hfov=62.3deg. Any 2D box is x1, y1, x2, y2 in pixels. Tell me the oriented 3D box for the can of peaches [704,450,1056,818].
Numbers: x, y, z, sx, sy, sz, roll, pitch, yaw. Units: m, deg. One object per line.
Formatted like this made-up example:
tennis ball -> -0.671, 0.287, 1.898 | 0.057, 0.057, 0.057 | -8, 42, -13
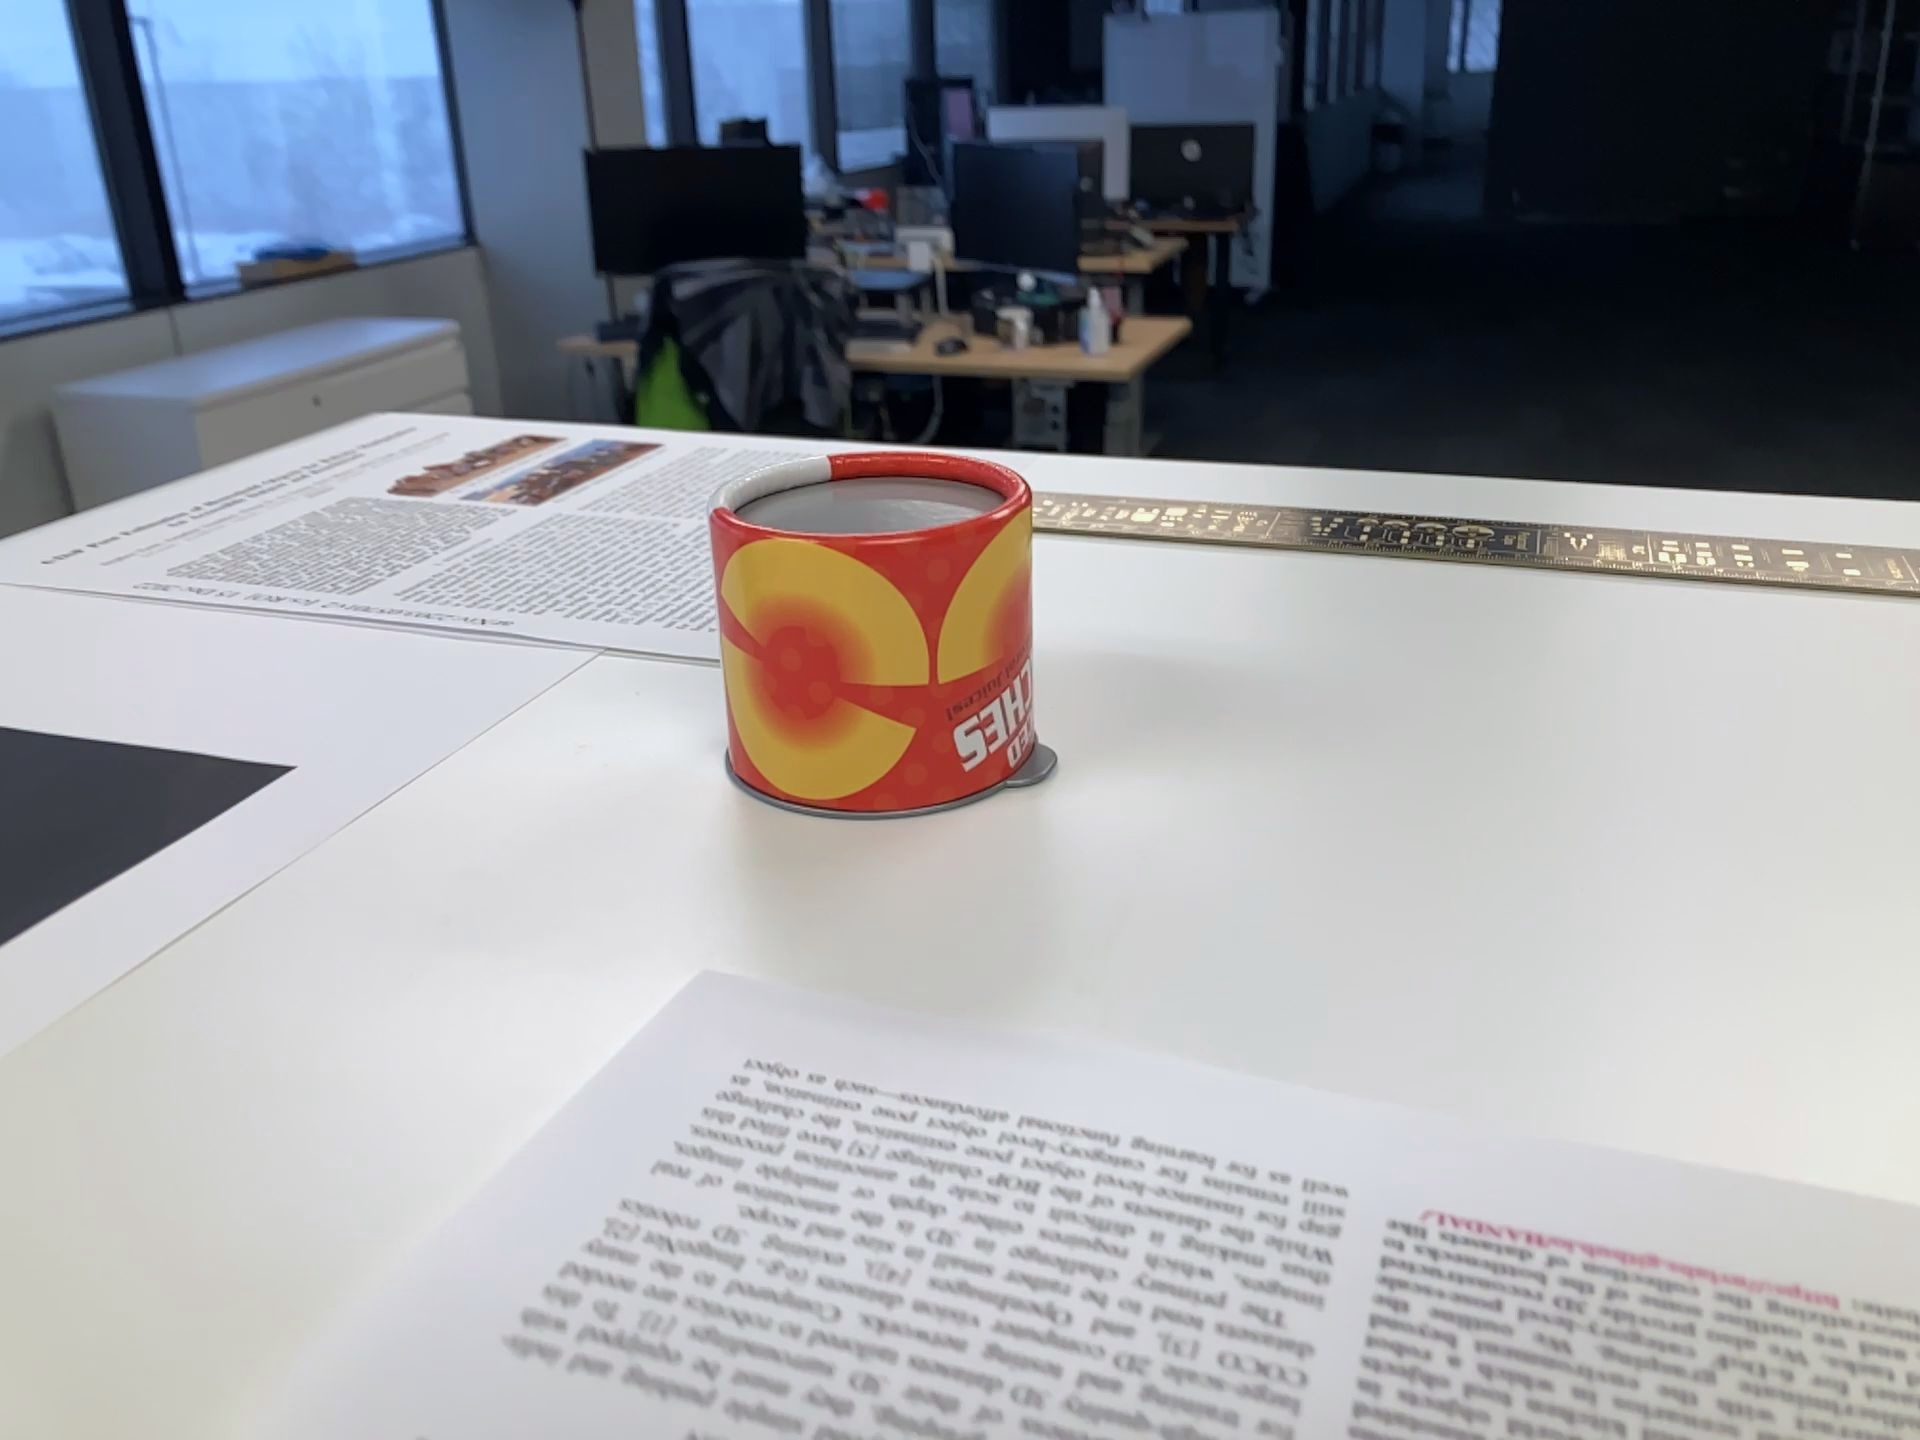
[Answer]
can of peaches -> -0.015, -0.020, 0.324 | 0.071, 0.058, 0.071 | -2, 22, 1
